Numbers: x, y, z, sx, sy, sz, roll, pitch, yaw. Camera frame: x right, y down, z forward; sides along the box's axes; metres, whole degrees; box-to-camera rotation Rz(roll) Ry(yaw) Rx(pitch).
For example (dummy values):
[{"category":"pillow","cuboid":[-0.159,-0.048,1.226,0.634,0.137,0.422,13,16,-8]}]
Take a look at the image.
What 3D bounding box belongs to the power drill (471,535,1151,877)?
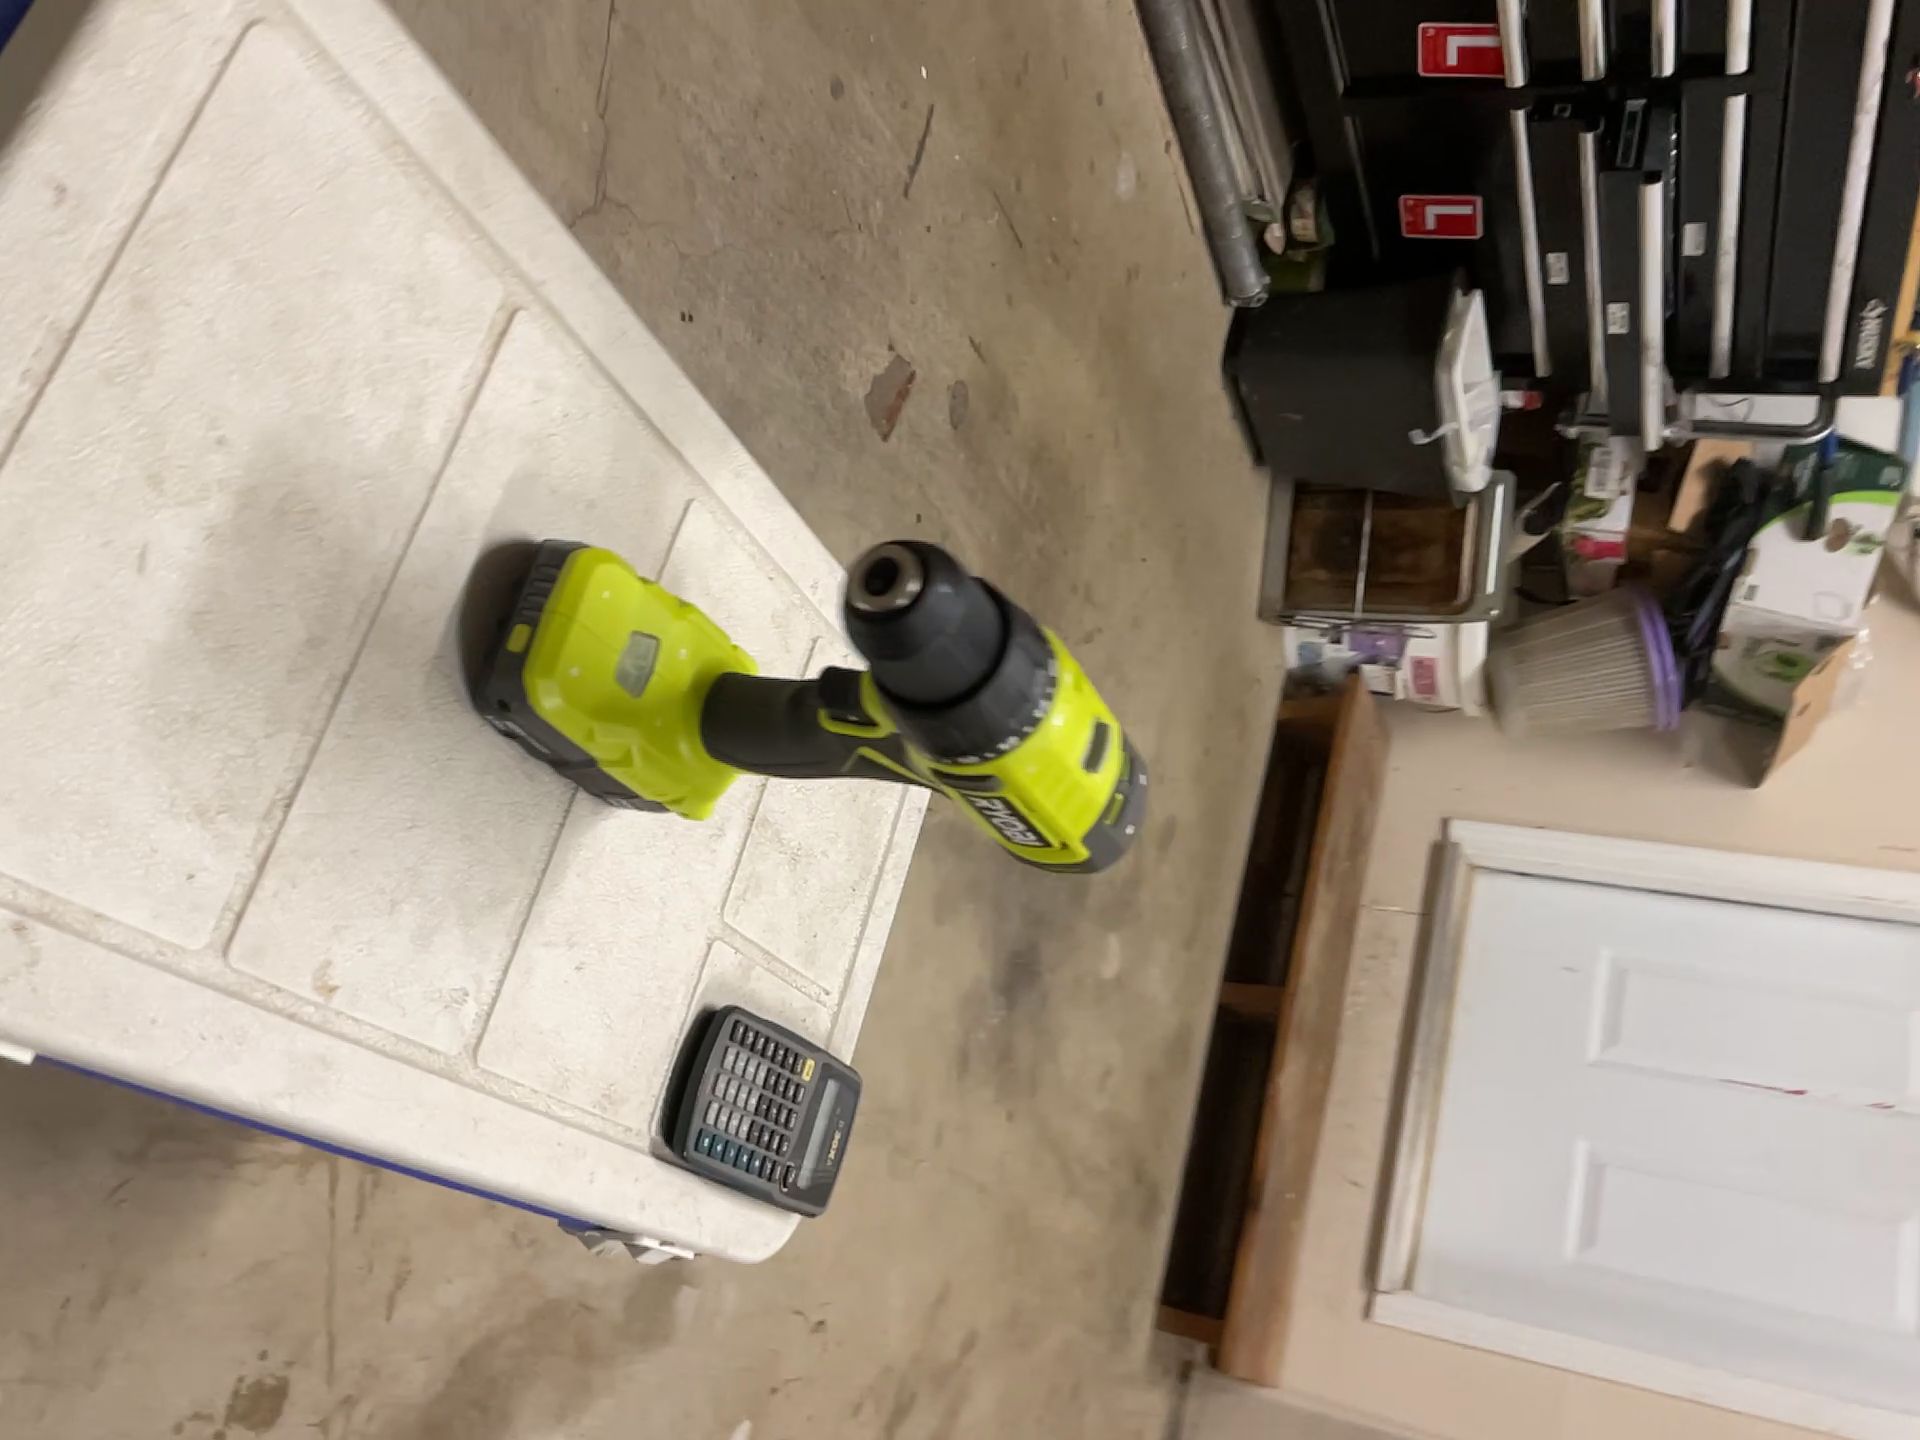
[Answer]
[{"category":"power drill","cuboid":[-0.059,-0.012,0.579,0.190,0.228,0.080,47,54,-56]}]
